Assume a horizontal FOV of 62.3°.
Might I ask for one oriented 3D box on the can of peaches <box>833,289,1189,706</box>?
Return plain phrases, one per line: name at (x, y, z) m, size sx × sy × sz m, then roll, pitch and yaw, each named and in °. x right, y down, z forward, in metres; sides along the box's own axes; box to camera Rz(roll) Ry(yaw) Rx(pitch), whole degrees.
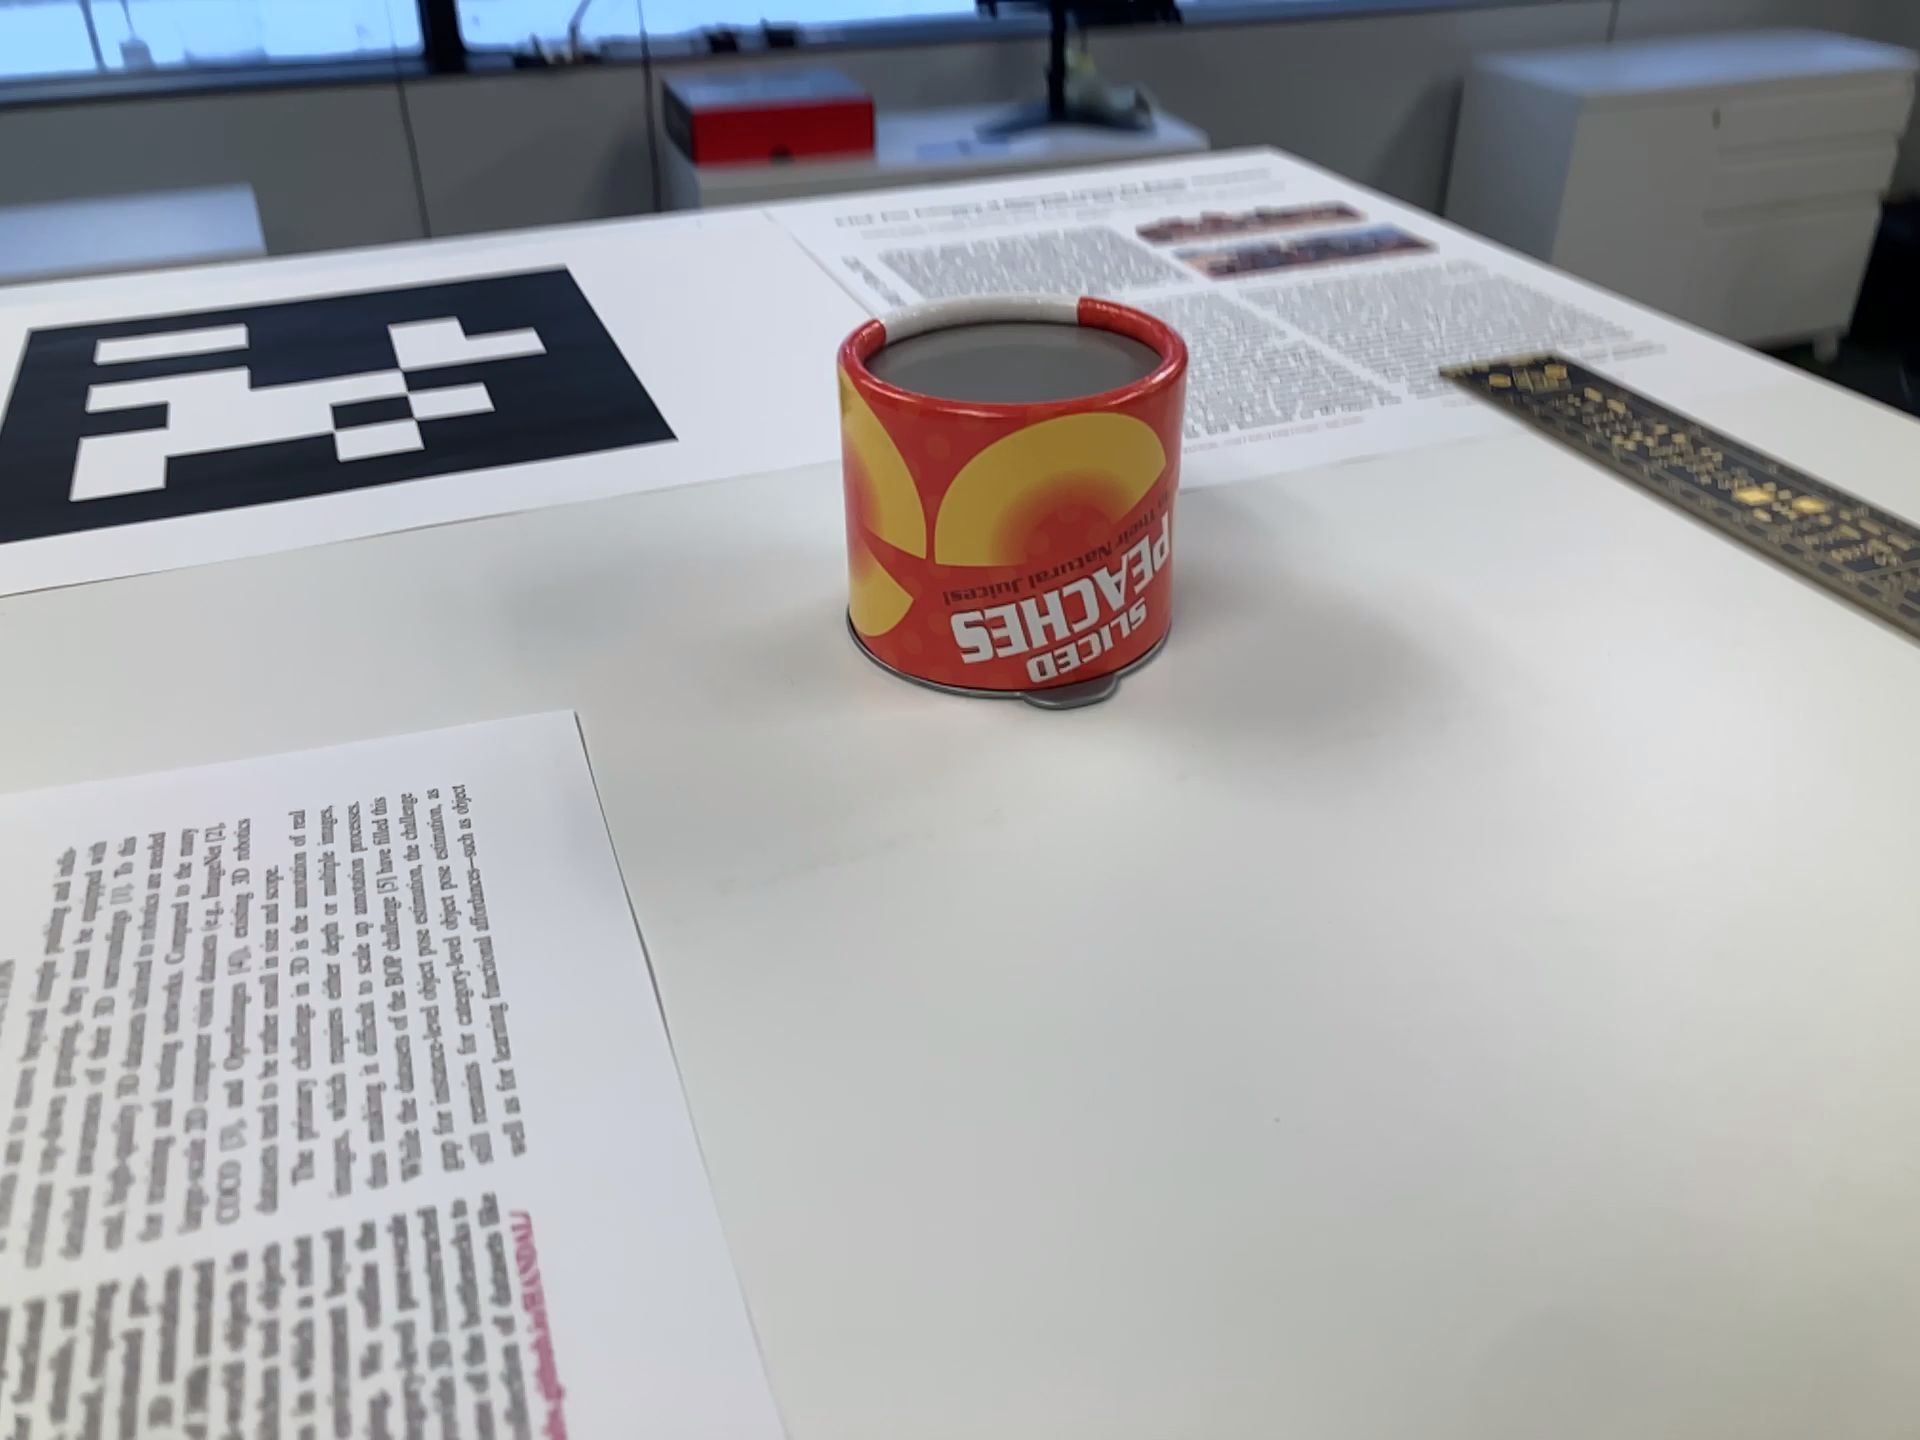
can of peaches at (0.010, -0.045, 0.303) m, size 0.071 × 0.058 × 0.071 m, roll 0°, pitch 31°, yaw 0°
